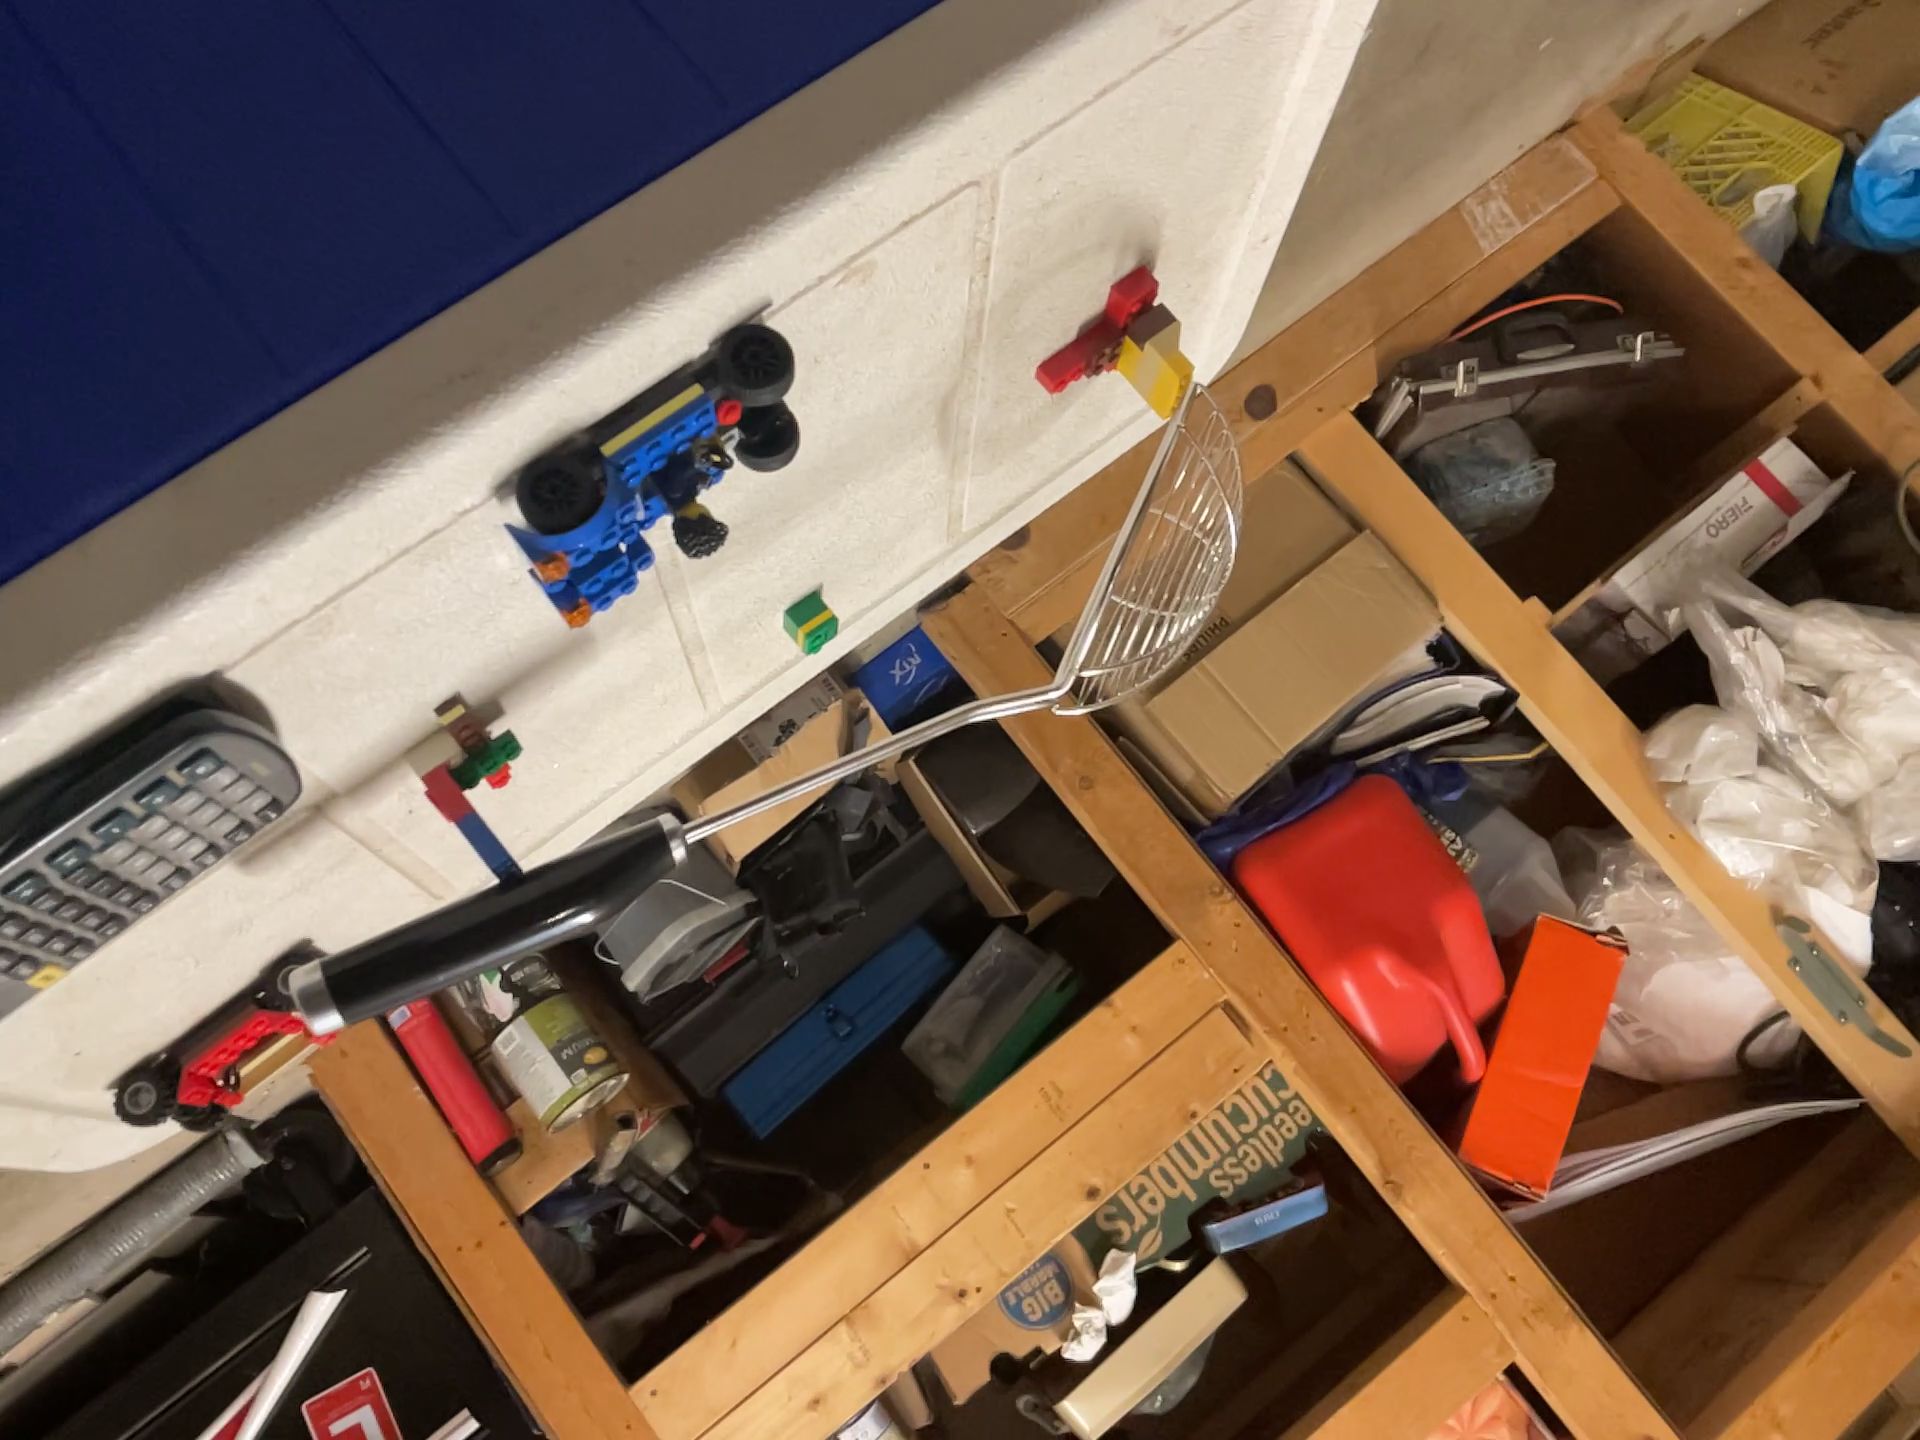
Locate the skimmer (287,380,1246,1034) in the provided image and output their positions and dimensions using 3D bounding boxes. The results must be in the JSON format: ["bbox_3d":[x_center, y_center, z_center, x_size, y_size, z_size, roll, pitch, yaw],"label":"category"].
[{"bbox_3d":[-0.055,-0.010,0.544,0.363,0.090,0.127,-24,164,-16],"label":"skimmer"}]
